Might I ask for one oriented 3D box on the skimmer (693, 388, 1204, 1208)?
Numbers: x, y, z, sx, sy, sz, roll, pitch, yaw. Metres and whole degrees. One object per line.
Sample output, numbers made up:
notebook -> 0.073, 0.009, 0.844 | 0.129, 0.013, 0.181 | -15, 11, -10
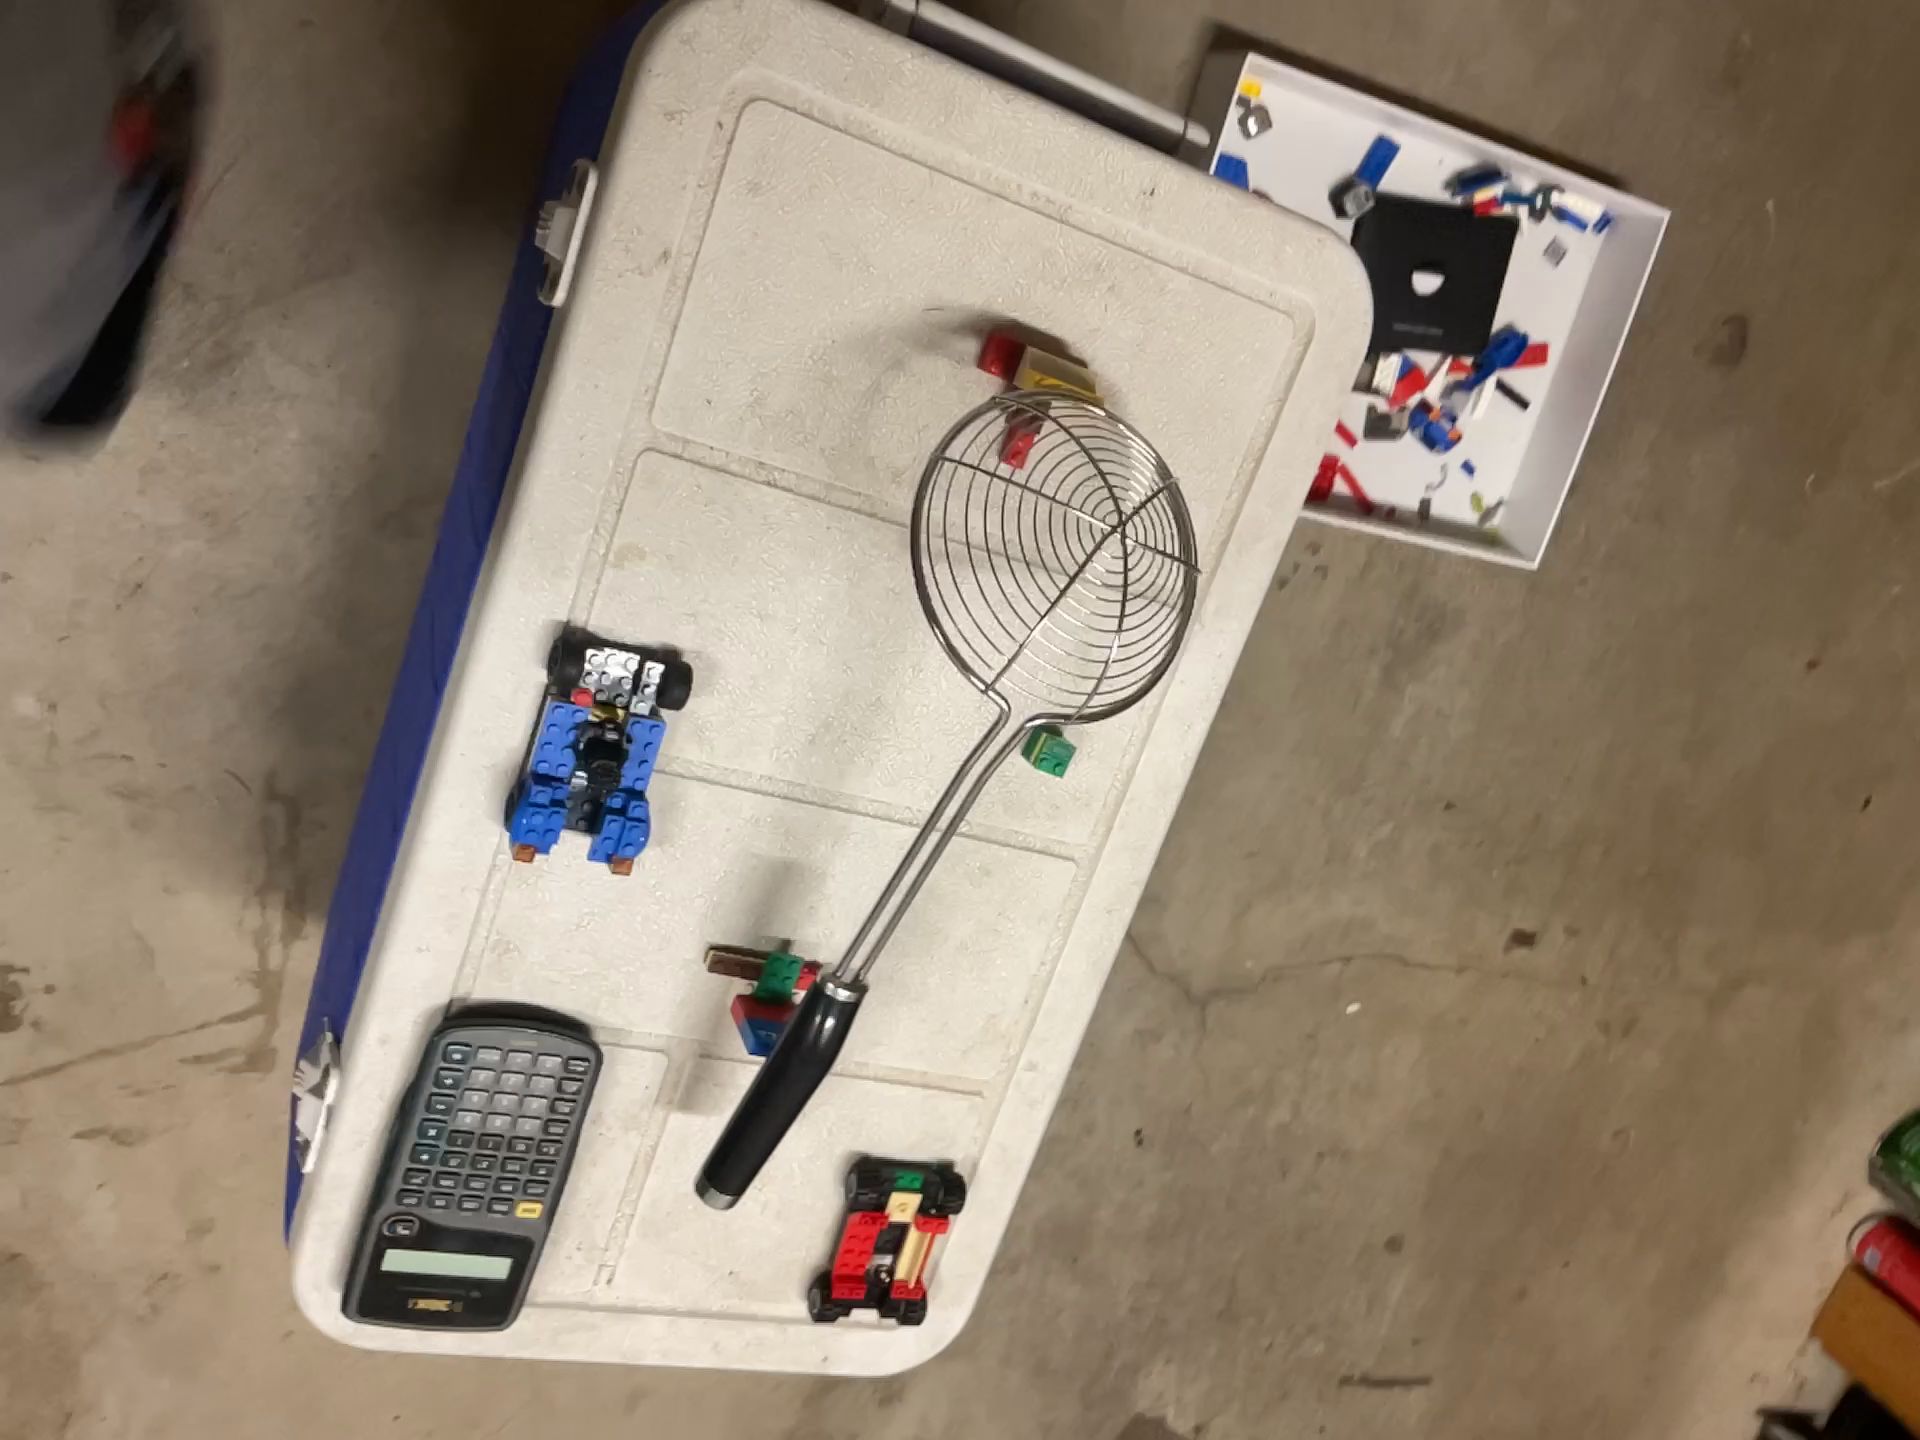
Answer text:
skimmer -> -0.025, 0.043, 0.648 | 0.127, 0.090, 0.363 | 20, 114, -27
